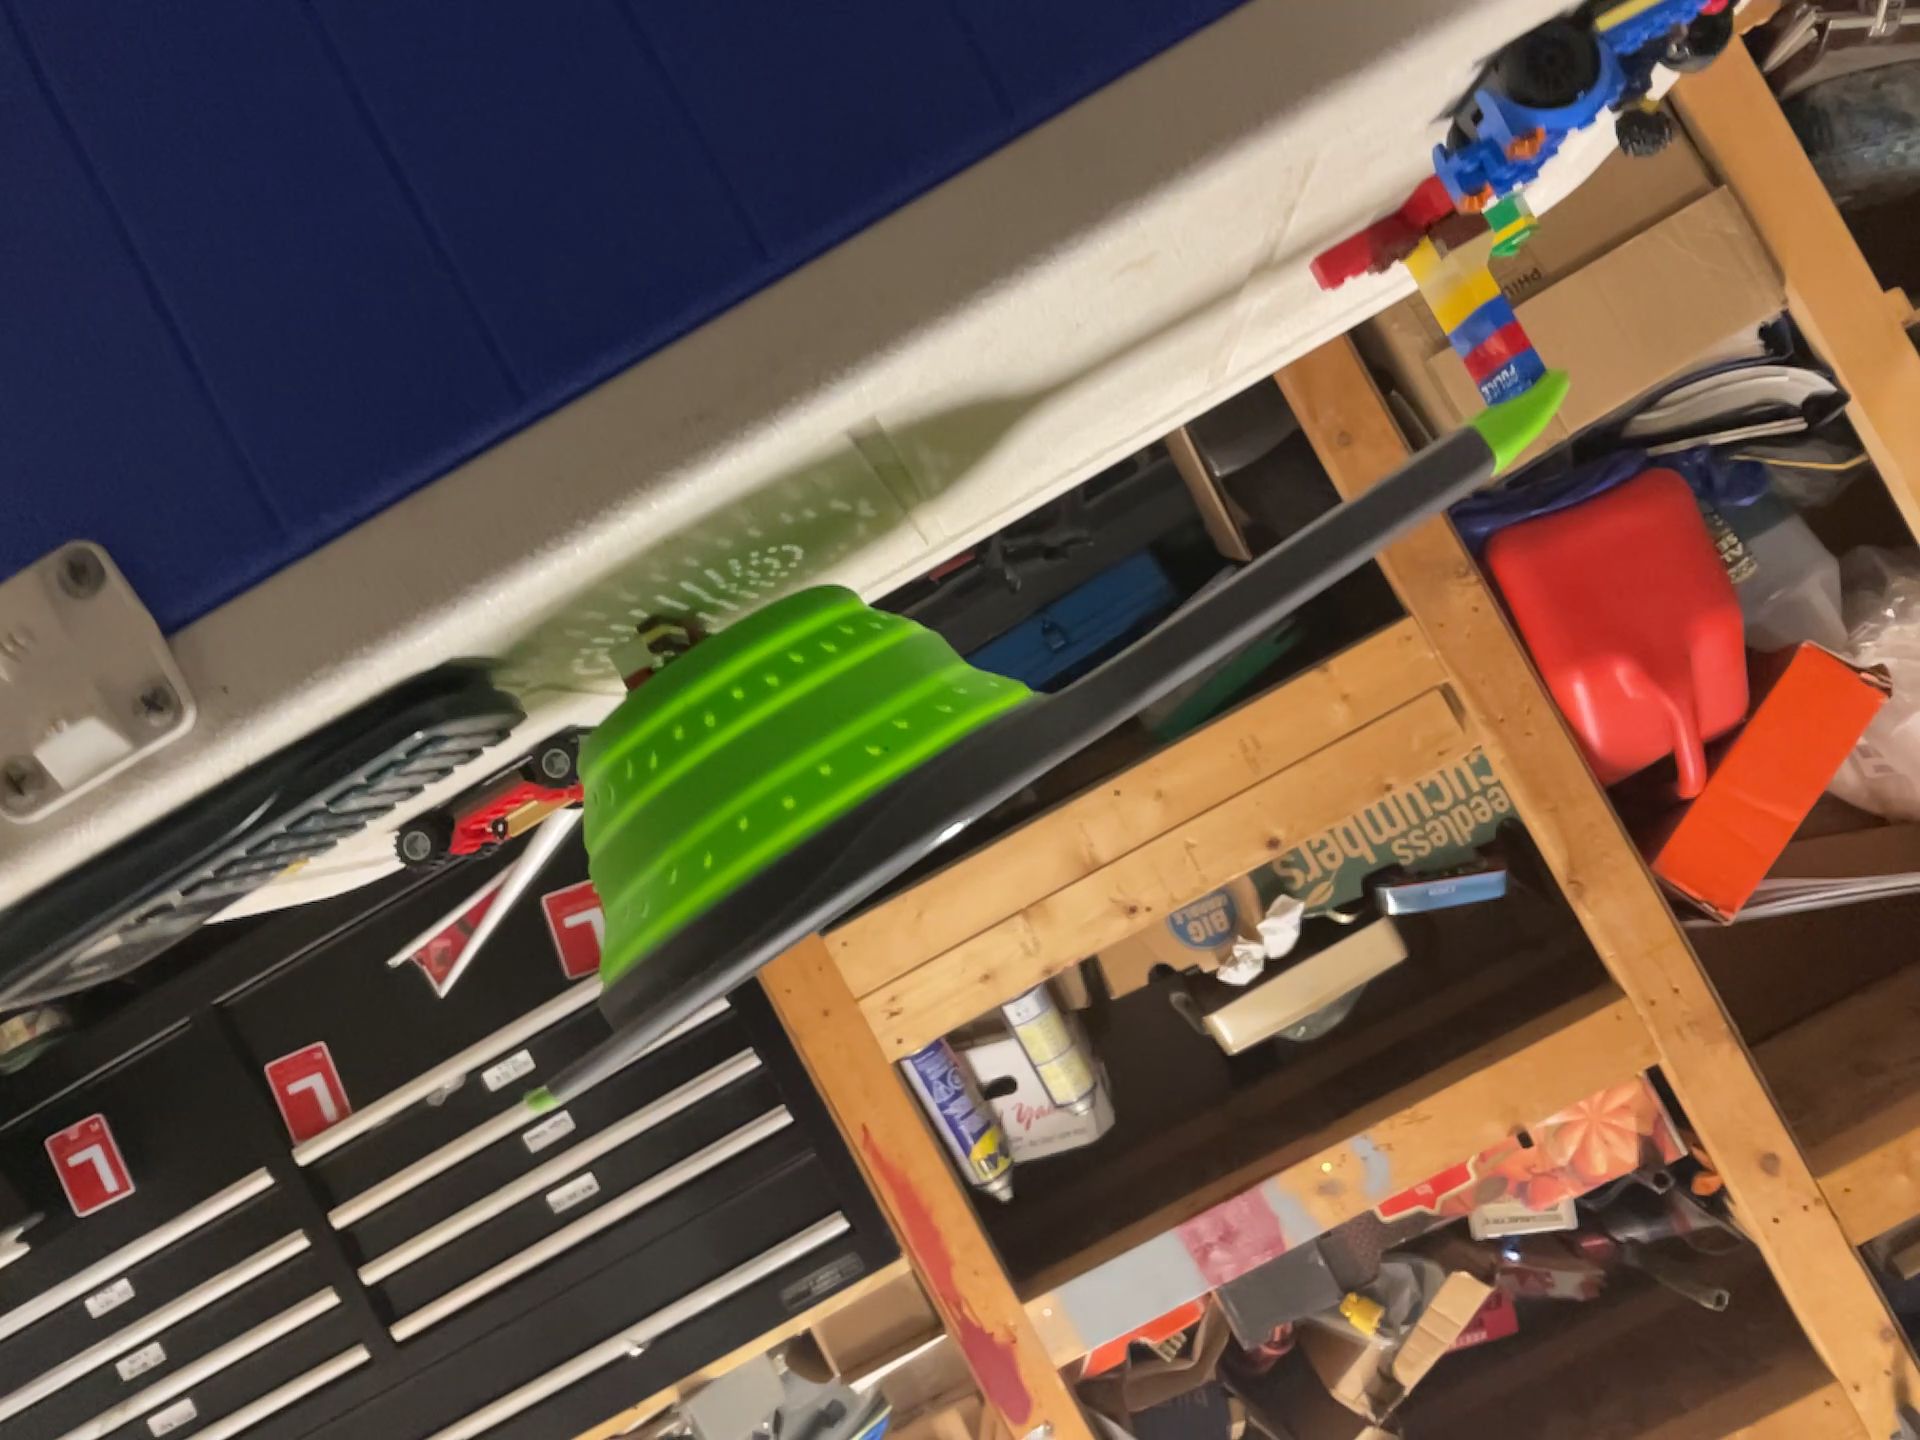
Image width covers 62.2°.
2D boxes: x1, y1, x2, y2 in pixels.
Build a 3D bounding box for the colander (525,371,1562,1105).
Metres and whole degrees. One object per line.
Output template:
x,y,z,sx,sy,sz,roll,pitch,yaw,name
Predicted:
0.010,-0.025,0.529,0.397,0.094,0.204,-34,175,1,colander
